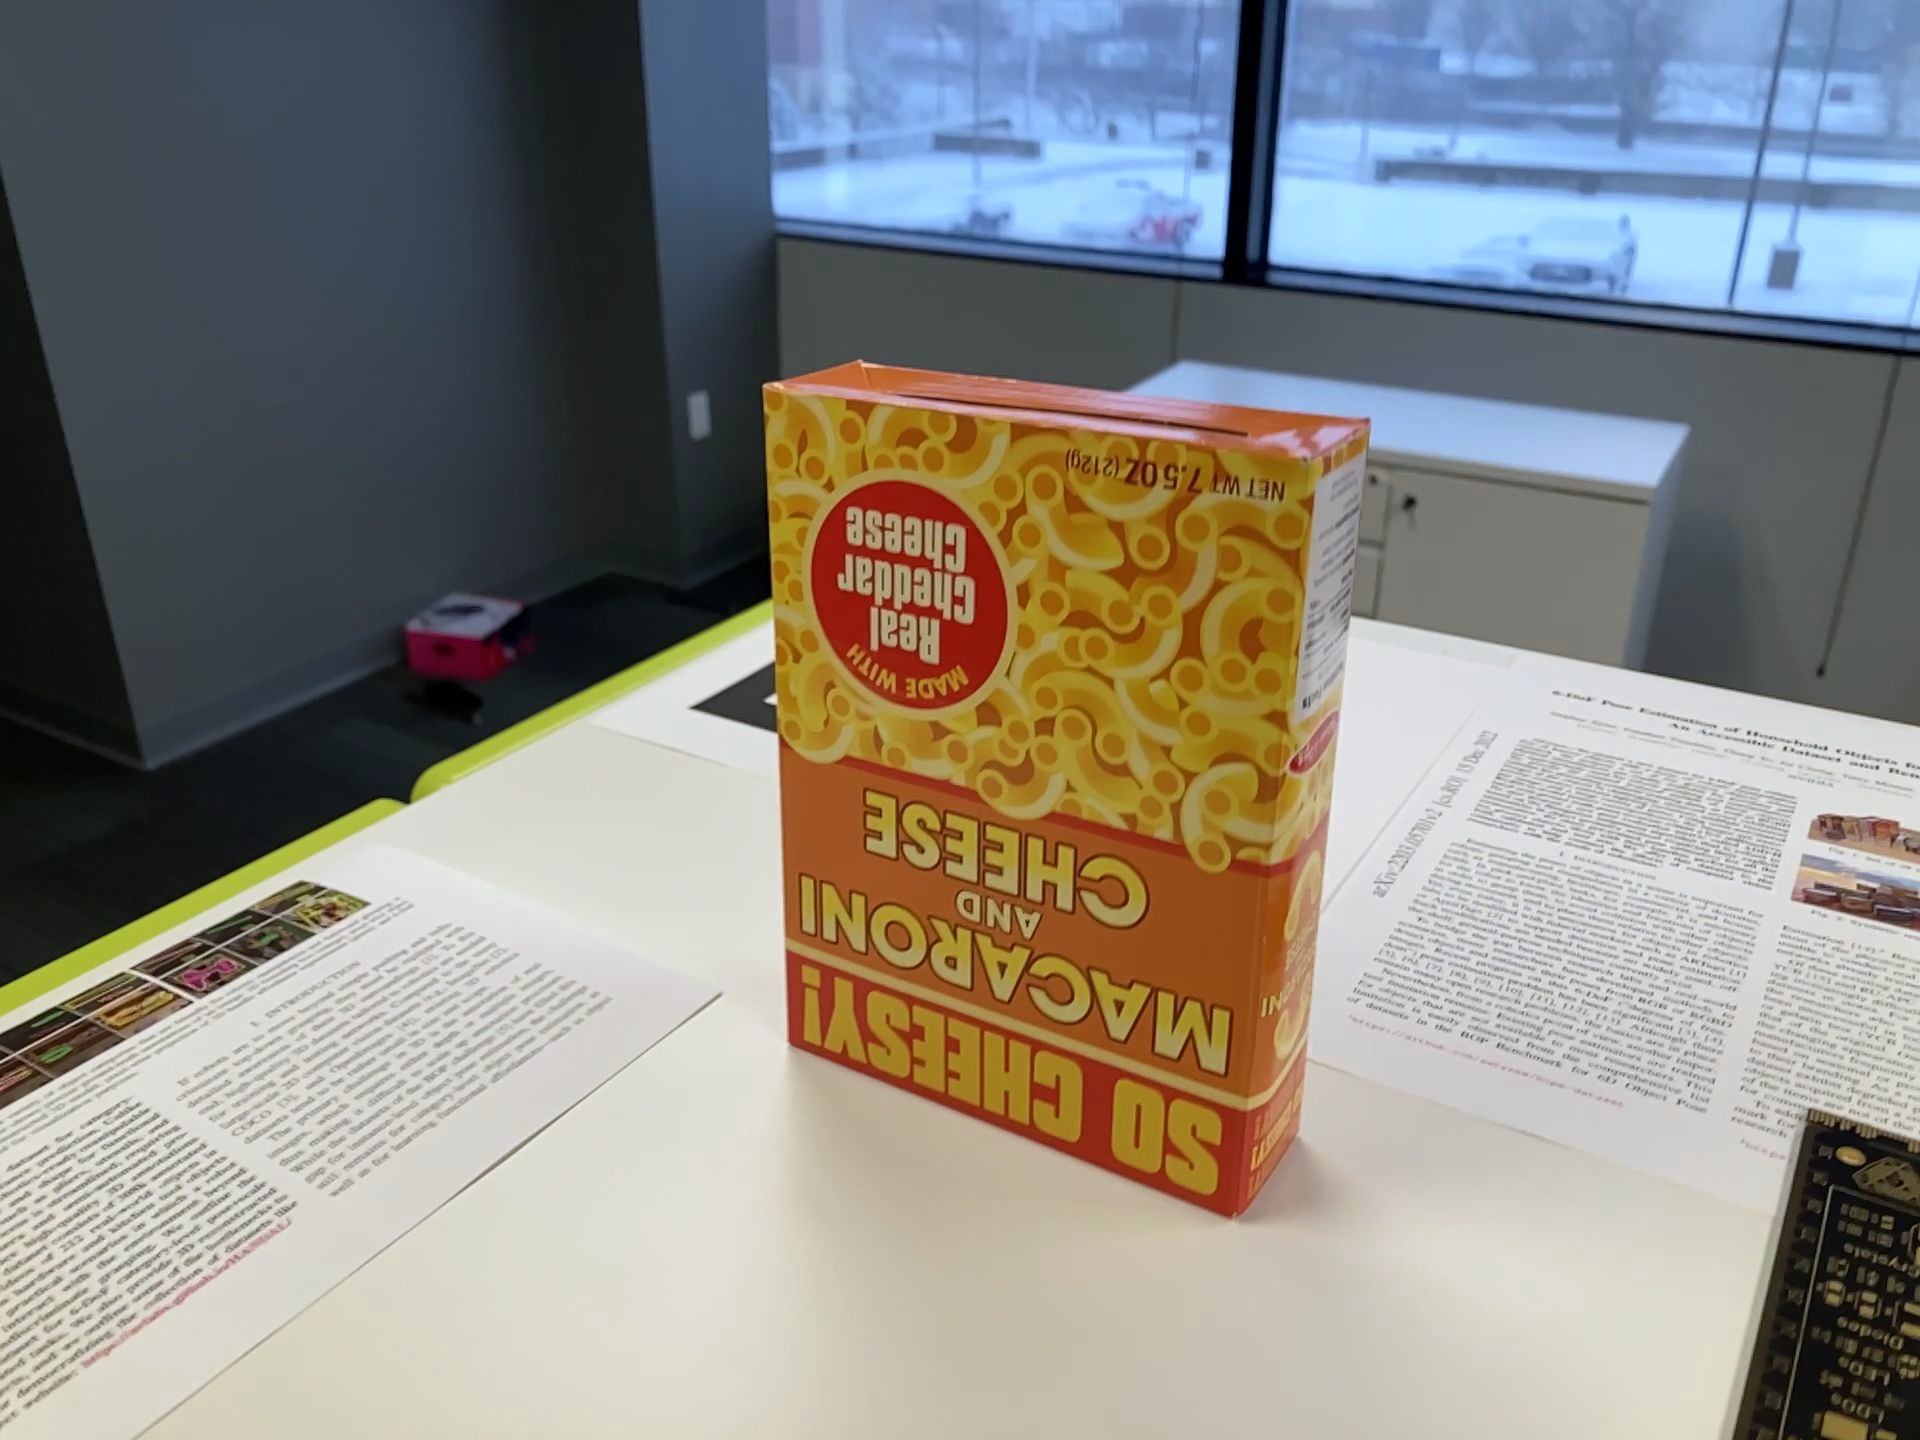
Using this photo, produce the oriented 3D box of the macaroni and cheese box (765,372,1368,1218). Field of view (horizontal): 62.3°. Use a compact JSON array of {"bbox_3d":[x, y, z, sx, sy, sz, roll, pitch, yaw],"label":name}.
[{"bbox_3d":[0.019,0.013,0.356,0.124,0.166,0.040,13,25,30],"label":"macaroni and cheese box"}]
